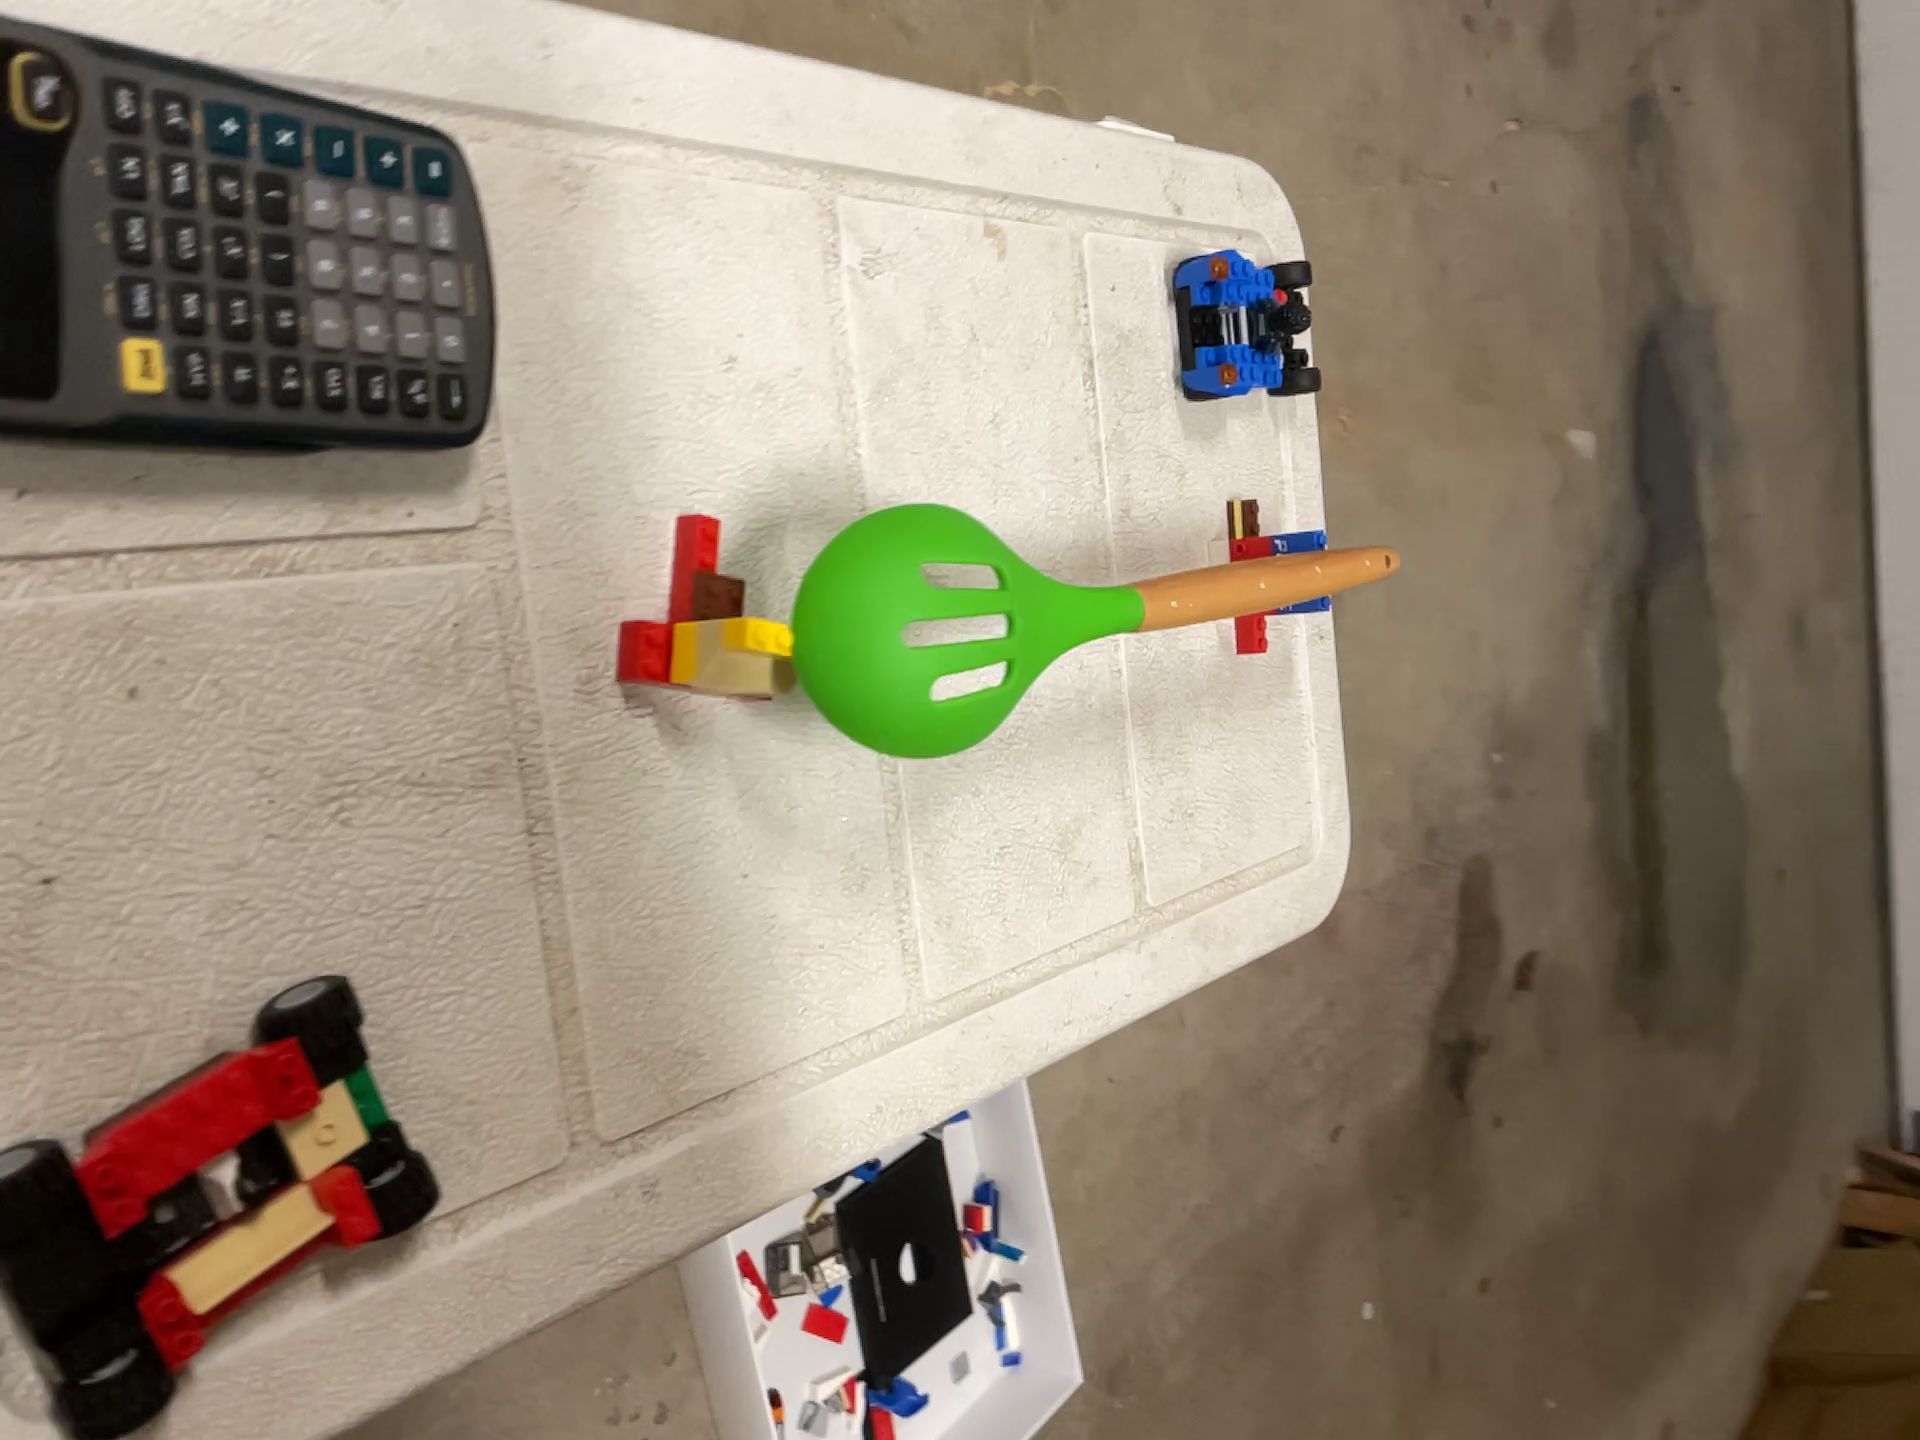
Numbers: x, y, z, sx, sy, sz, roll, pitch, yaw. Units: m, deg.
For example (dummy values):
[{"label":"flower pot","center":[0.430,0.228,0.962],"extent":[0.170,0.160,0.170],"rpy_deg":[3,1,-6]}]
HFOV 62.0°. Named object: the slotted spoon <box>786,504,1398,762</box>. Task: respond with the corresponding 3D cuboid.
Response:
[{"label":"slotted spoon","center":[0.068,-0.041,0.521],"extent":[0.314,0.031,0.070],"rpy_deg":[-13,98,-48]}]
